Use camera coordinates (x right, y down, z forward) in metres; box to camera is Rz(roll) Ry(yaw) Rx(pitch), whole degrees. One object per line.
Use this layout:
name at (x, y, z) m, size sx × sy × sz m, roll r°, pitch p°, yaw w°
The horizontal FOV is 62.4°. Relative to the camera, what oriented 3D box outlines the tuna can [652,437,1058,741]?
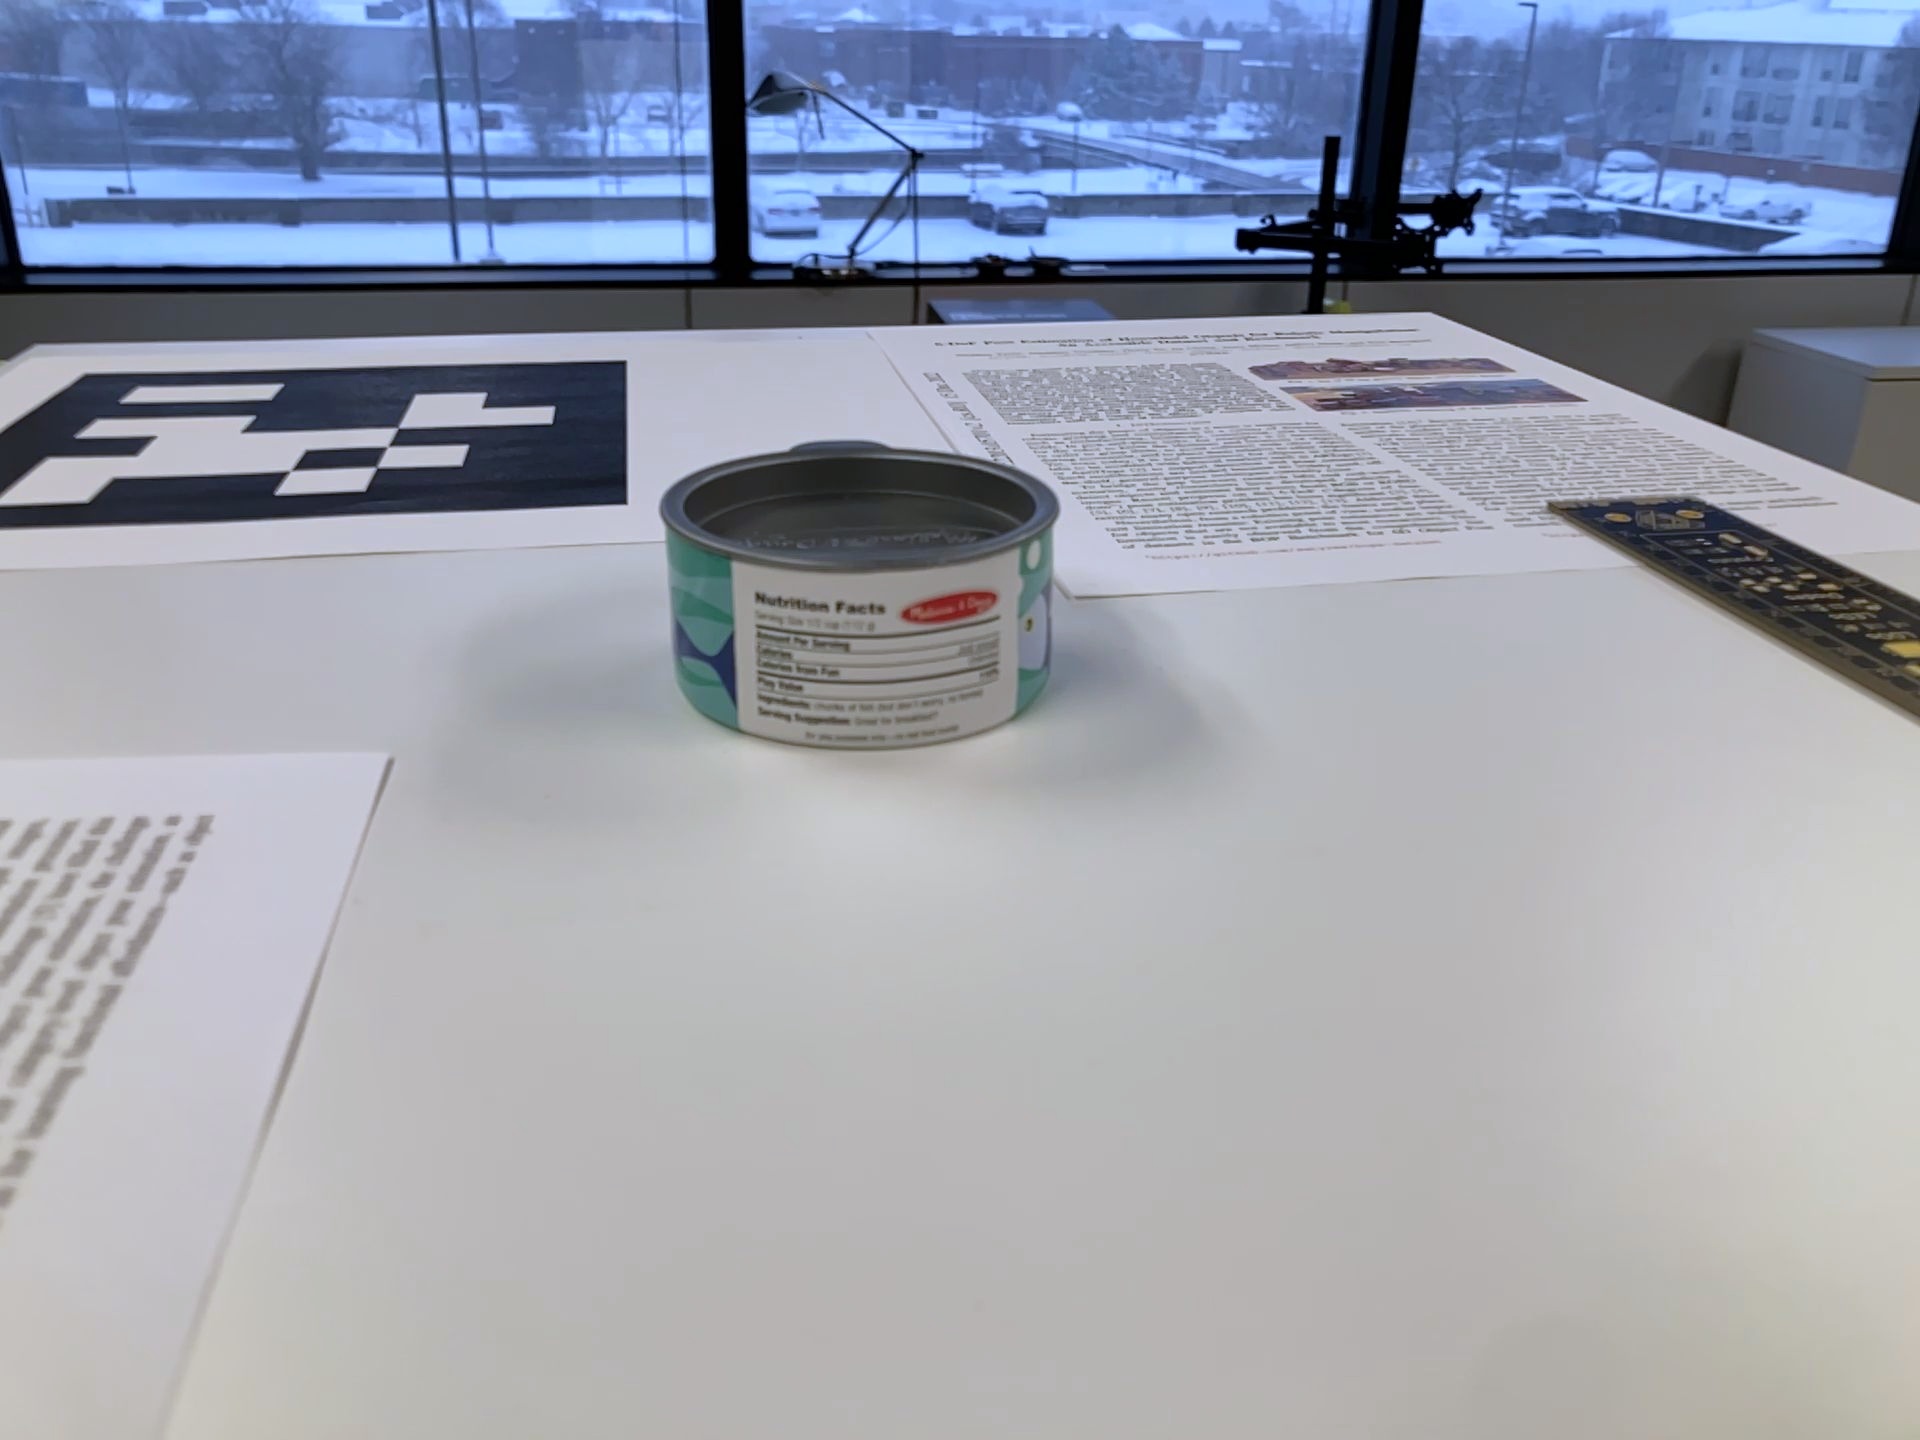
tuna can at (-0.018, -0.025, 0.268) m, size 0.071 × 0.033 × 0.071 m, roll 0°, pitch 23°, yaw 0°
